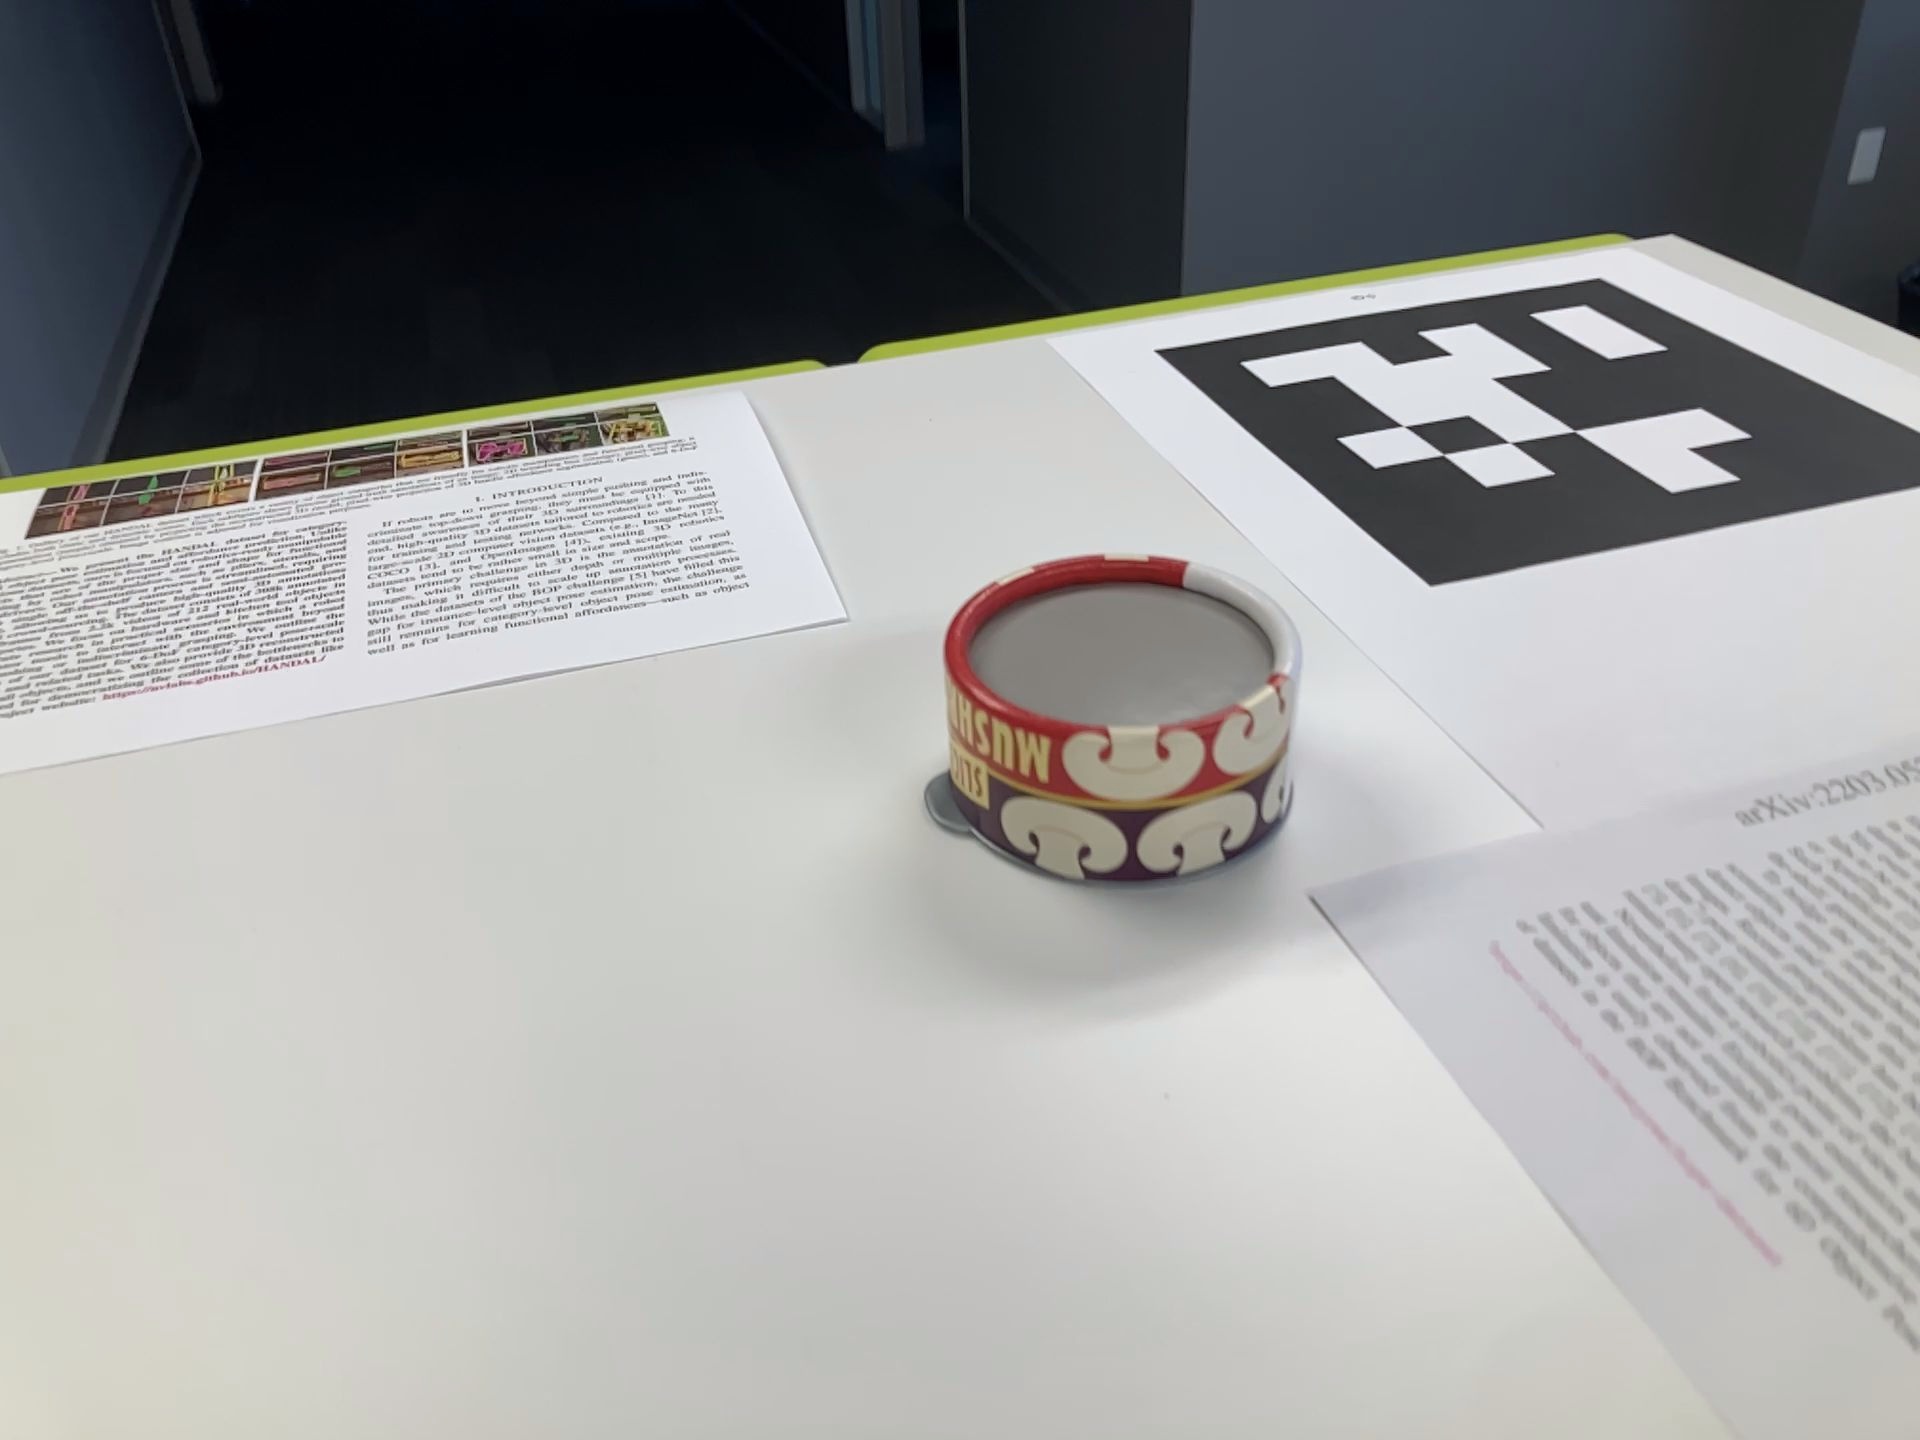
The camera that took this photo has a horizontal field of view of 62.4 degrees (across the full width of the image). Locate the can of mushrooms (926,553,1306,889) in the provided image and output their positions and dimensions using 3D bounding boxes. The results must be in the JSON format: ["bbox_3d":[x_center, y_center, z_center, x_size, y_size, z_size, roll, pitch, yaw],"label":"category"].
[{"bbox_3d":[0.028,-0.002,0.294,0.071,0.033,0.071,-3,35,2],"label":"can of mushrooms"}]
